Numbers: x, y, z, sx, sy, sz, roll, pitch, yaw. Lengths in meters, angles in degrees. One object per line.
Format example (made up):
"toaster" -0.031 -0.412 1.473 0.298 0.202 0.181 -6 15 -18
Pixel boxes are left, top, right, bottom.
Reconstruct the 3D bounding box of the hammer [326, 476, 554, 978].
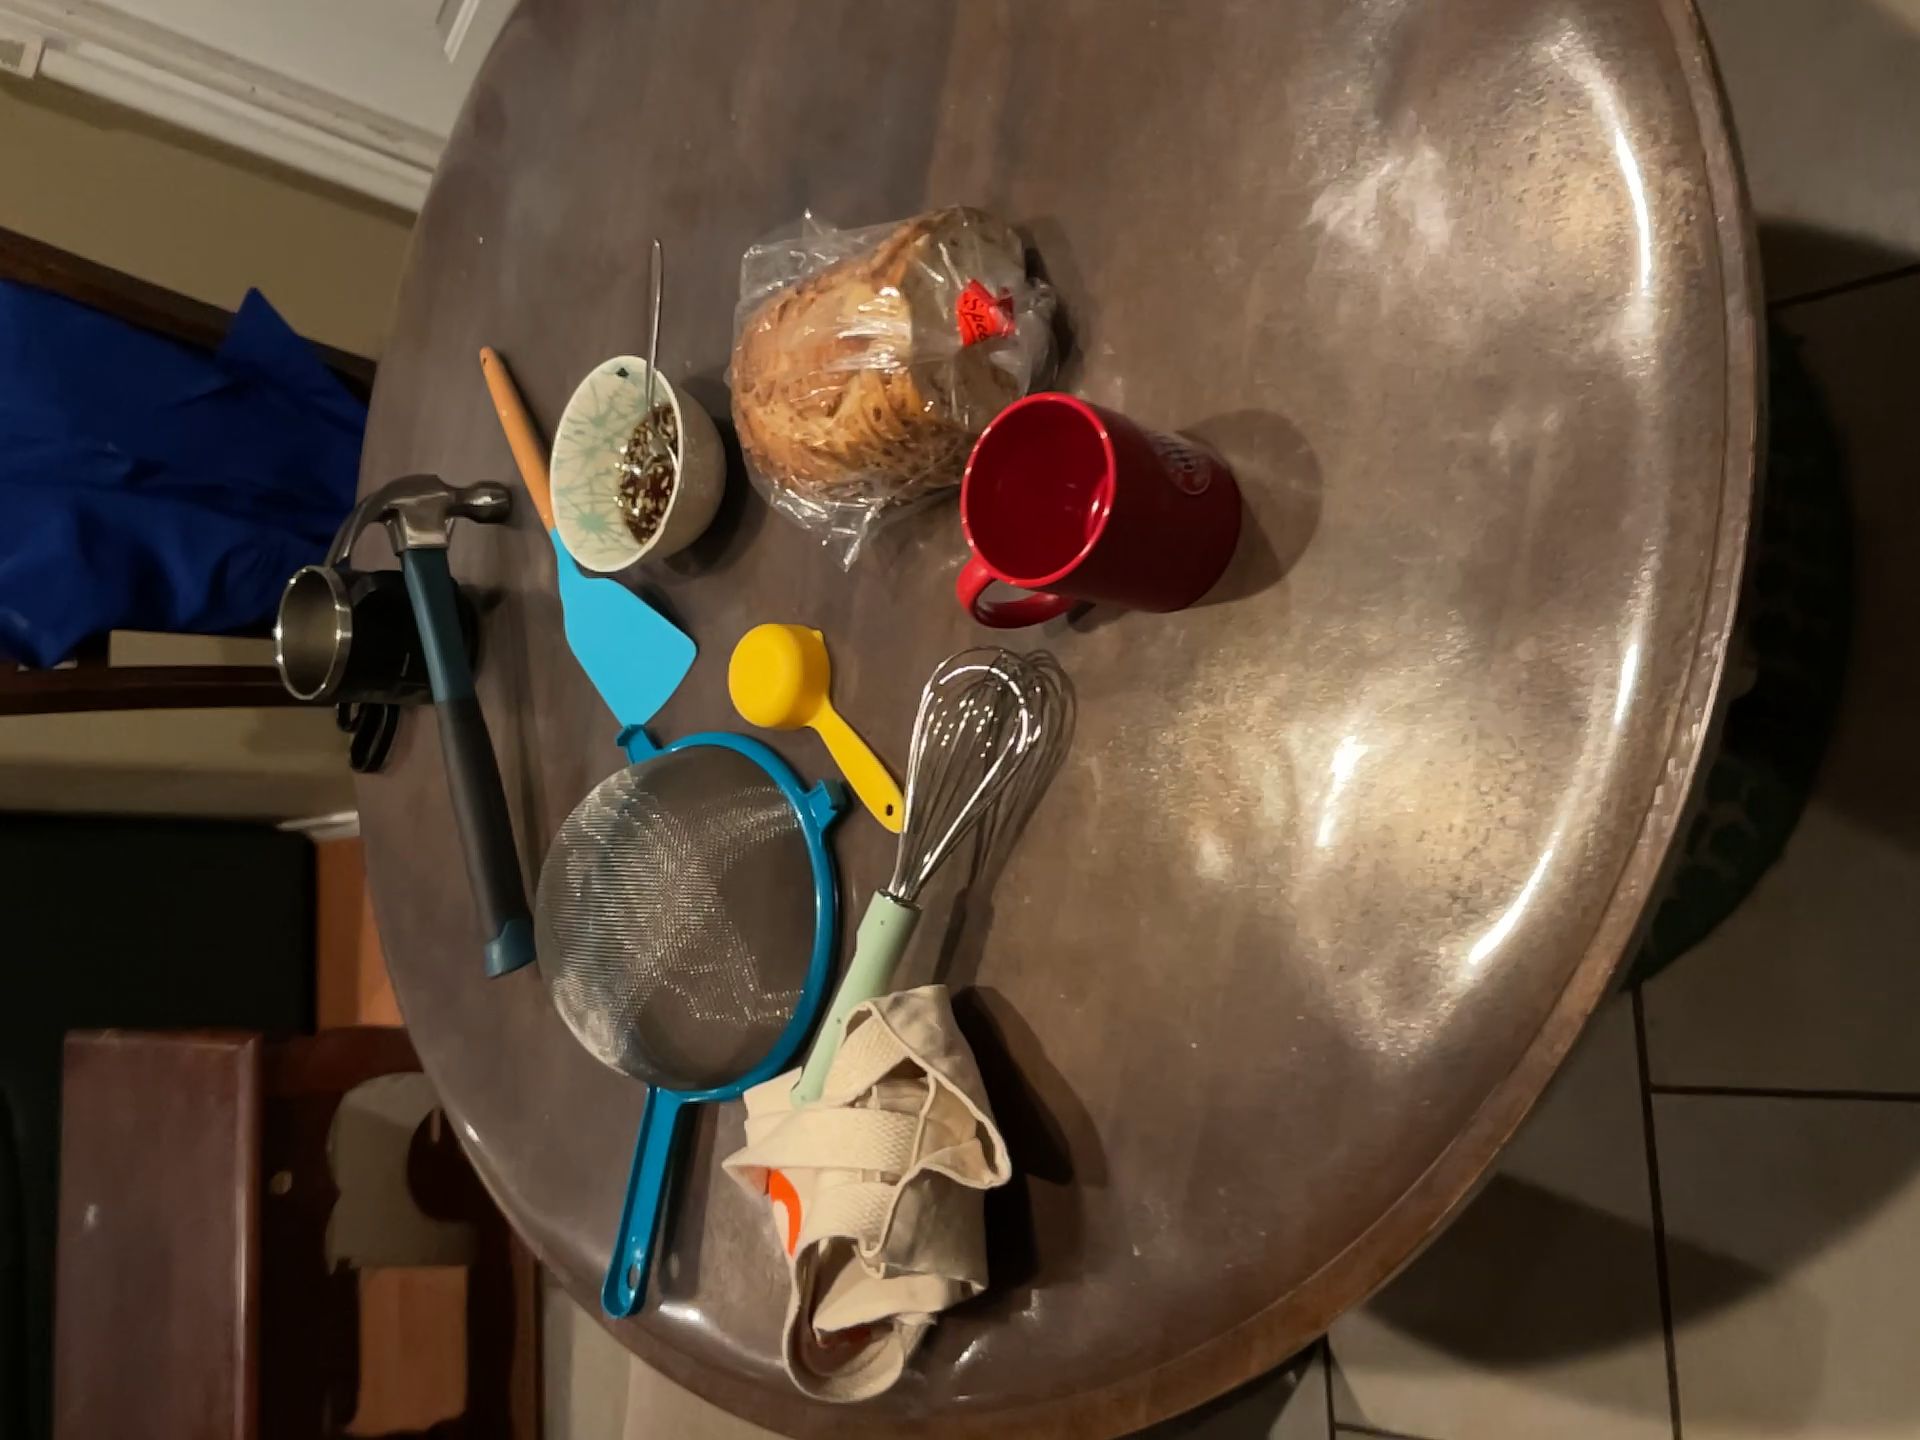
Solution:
"hammer" -0.319 0.001 1.037 0.033 0.128 0.331 -21 81 41

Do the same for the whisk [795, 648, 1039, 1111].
"whisk" -0.026 0.081 0.773 0.059 0.058 0.246 23 93 10

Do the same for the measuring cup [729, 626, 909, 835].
"measuring cup" -0.077 0.007 0.856 0.157 0.029 0.062 50 118 35

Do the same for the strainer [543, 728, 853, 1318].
"strainer" -0.183 0.170 0.894 0.211 0.095 0.340 13 90 42

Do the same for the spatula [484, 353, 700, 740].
"spatula" -0.254 -0.131 1.034 0.082 0.044 0.318 -48 53 29
